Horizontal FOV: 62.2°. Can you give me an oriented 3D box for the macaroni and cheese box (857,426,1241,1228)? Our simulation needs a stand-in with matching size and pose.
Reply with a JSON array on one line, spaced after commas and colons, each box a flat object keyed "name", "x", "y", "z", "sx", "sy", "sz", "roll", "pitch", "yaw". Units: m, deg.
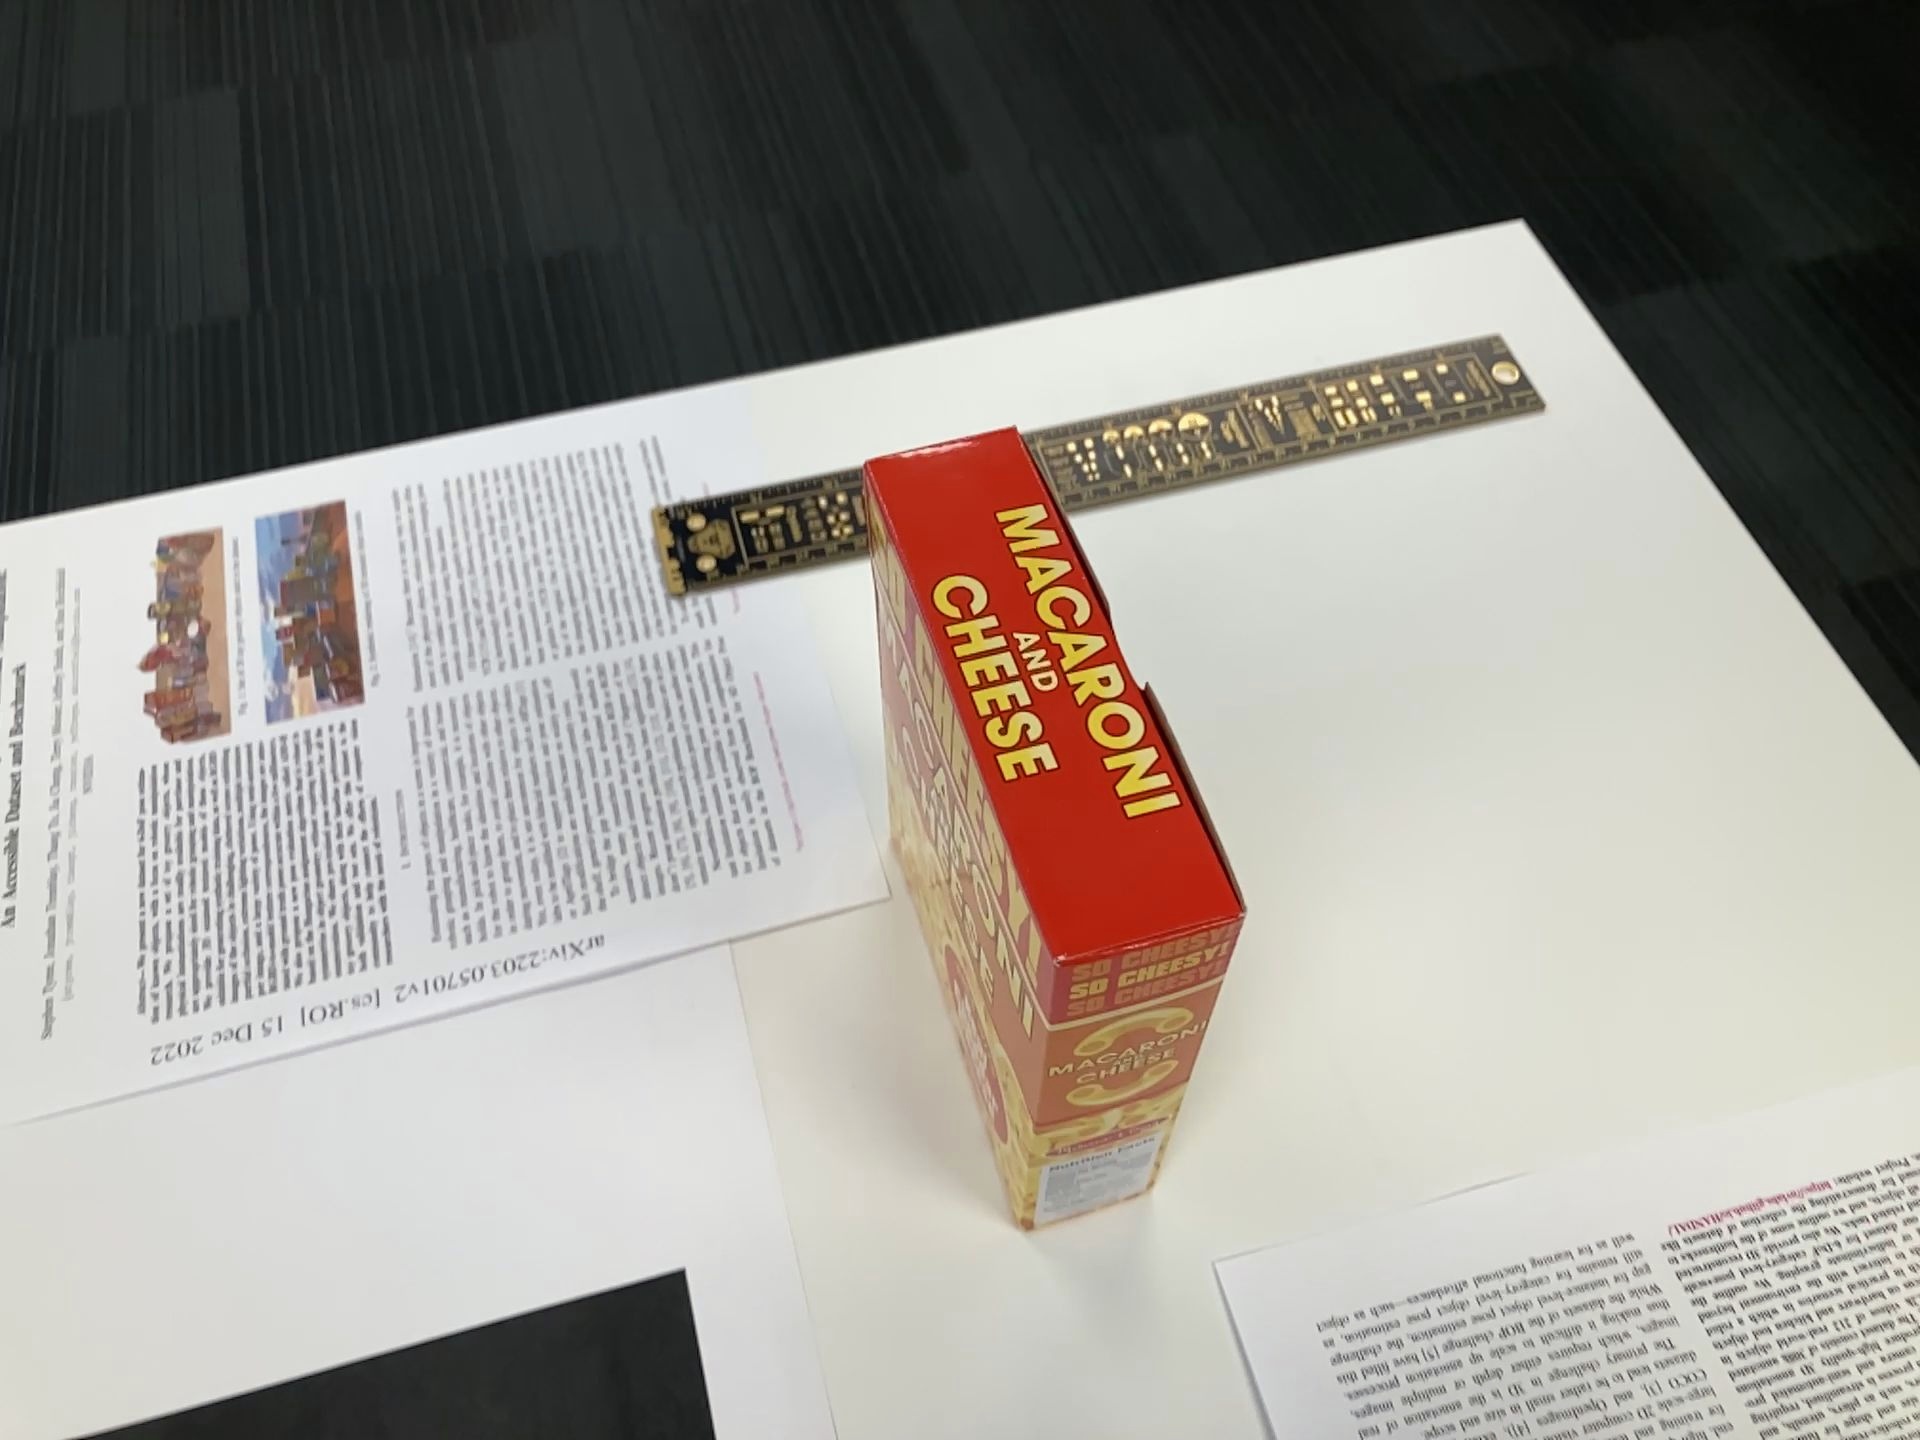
[{"name": "macaroni and cheese box", "x": 0.015, "y": 0.033, "z": 0.378, "sx": 0.040, "sy": 0.166, "sz": 0.124, "roll": -16, "pitch": 58, "yaw": -10}]
